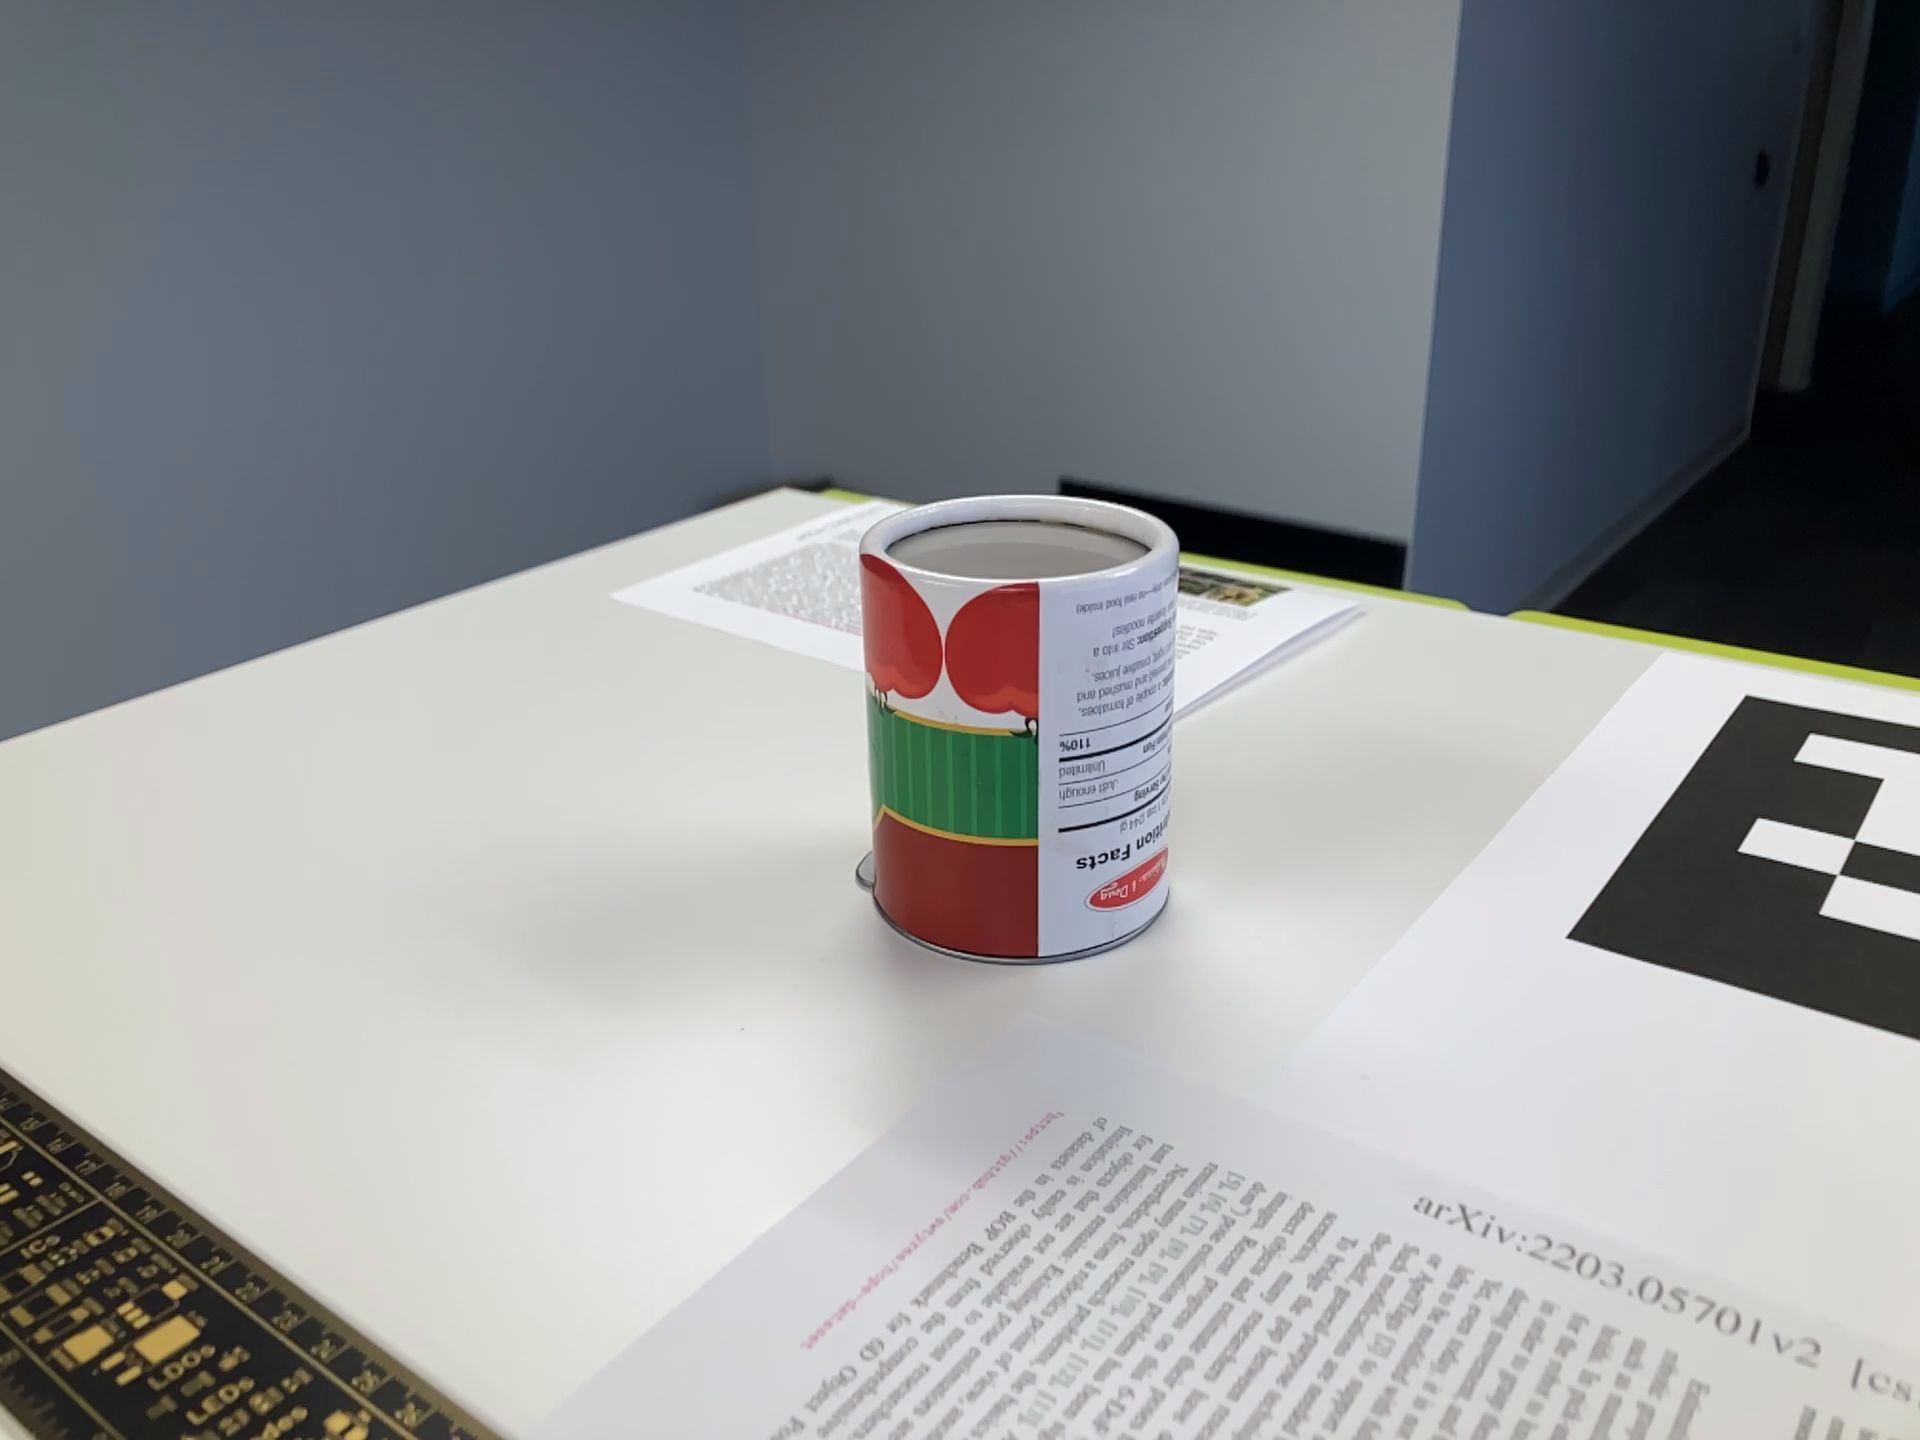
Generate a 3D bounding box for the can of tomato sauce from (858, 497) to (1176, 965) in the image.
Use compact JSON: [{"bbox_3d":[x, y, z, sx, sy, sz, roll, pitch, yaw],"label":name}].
[{"bbox_3d":[0.012,0.000,0.346,0.071,0.083,0.071,-3,24,1],"label":"can of tomato sauce"}]
